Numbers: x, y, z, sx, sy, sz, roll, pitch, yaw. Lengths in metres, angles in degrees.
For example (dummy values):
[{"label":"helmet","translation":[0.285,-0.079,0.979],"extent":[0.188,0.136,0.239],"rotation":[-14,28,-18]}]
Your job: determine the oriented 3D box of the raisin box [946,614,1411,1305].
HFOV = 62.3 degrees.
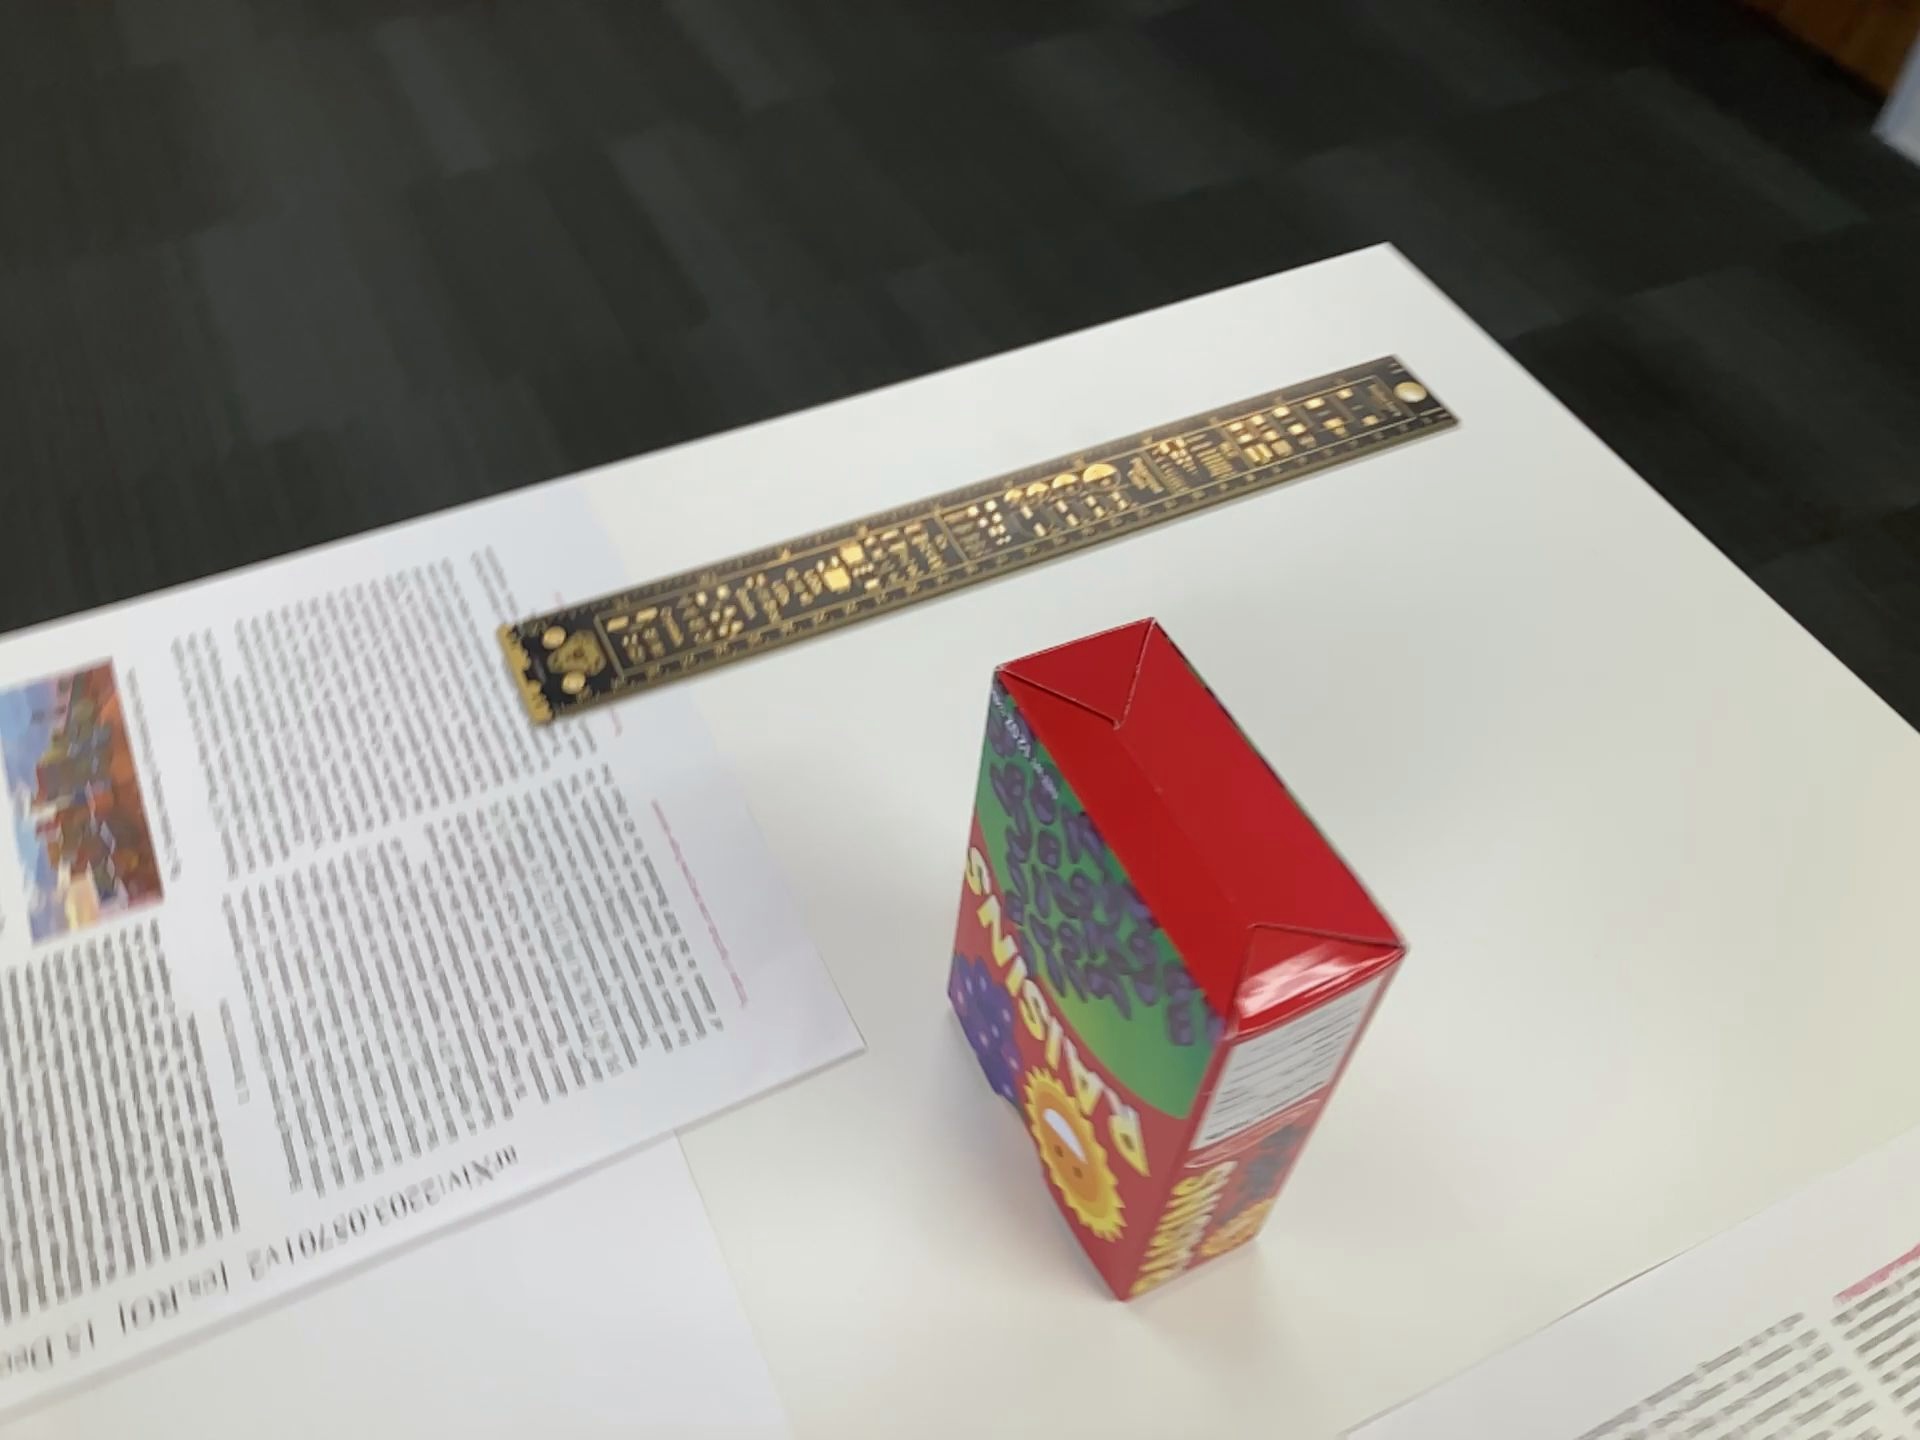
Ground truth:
[{"label":"raisin box","translation":[0.035,0.053,0.324],"extent":[0.040,0.123,0.086],"rotation":[-19,55,-20]}]
